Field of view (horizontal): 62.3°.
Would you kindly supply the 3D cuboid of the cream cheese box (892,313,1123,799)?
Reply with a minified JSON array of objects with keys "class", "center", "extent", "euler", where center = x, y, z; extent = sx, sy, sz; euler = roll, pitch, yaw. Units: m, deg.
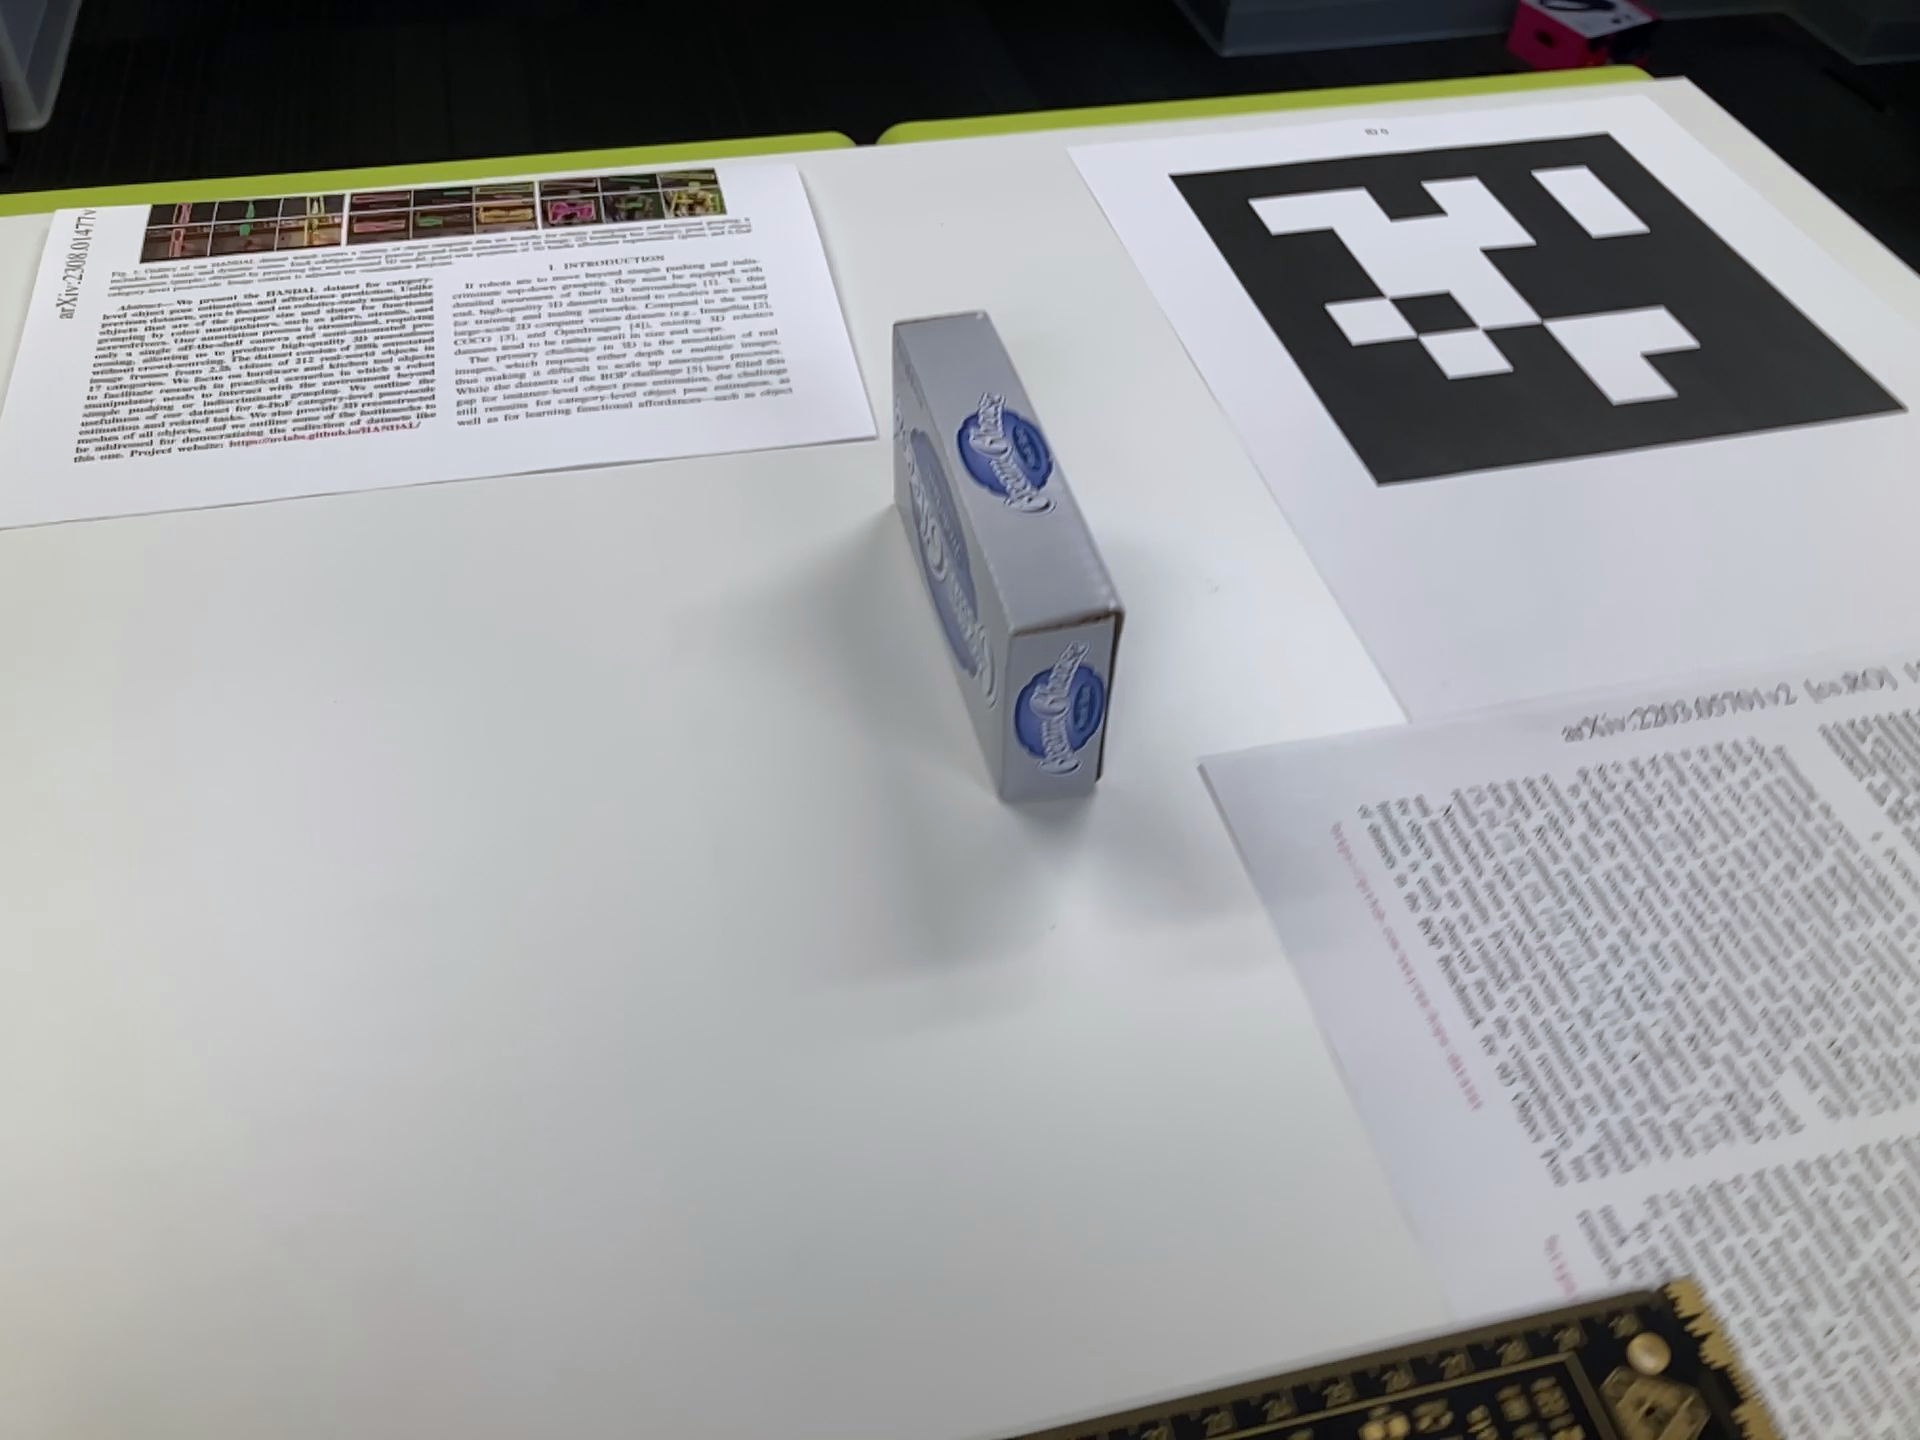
[{"class":"cream cheese box","center":[0.007,-0.038,0.350],"extent":[0.024,0.053,0.104],"euler":[-10,49,-10]}]
